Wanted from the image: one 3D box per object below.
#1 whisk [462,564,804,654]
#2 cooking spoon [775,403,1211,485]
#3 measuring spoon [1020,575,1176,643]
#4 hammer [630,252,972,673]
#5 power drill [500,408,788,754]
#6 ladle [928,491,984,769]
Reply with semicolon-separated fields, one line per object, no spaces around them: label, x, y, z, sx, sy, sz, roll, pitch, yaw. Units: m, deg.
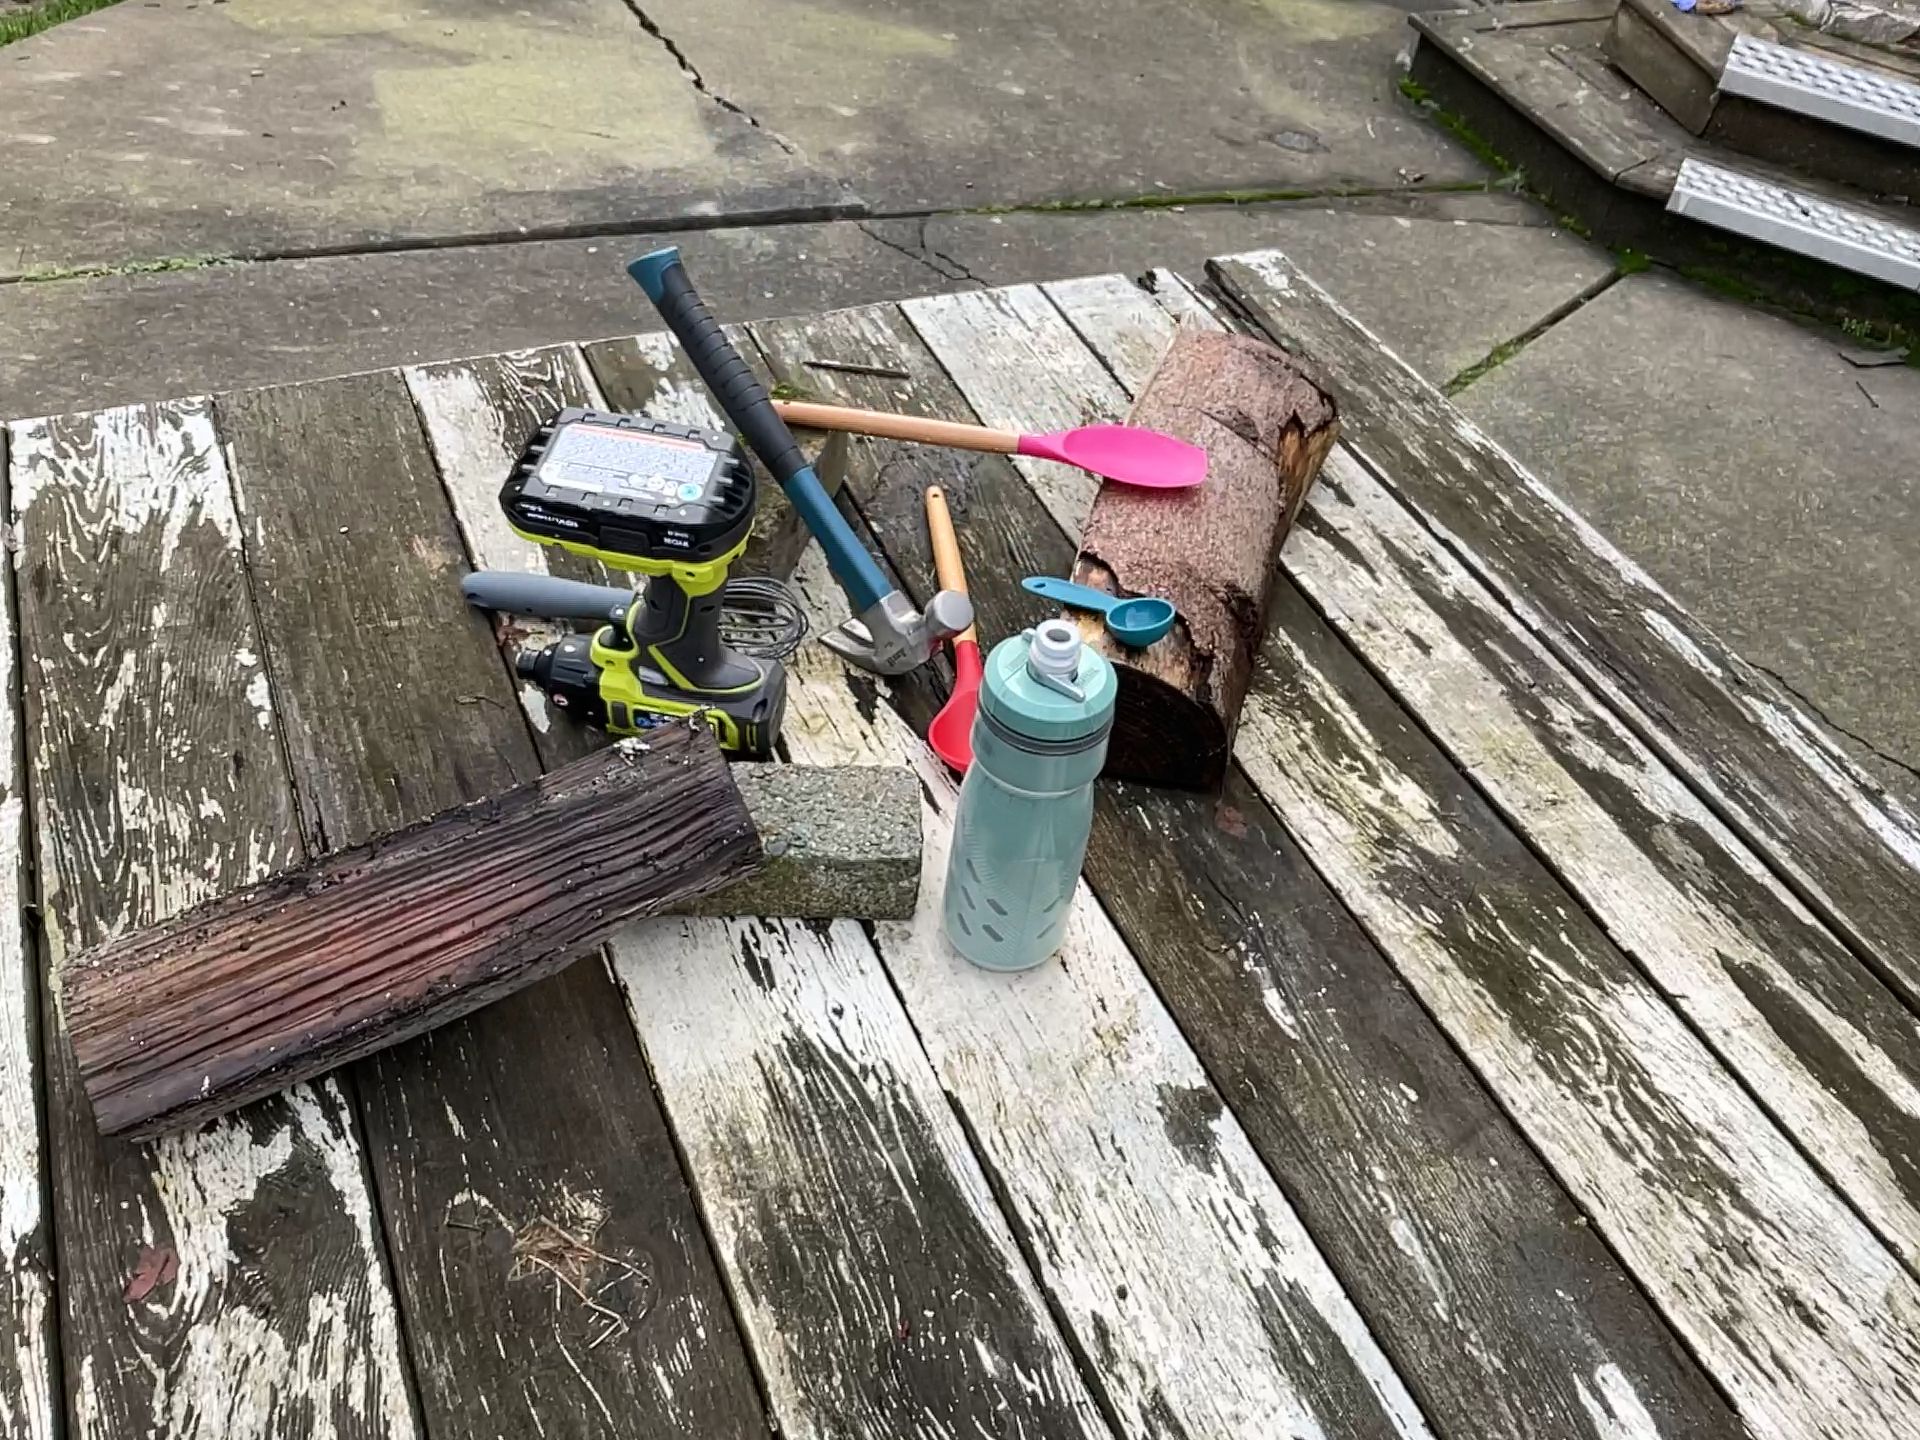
whisk;-0.223;-0.083;1.083;0.239;0.055;0.055;8;36;4
cooking spoon;0.021;-0.203;1.147;0.319;0.017;0.069;9;45;7
measuring spoon;0.086;-0.071;1.027;0.042;0.021;0.129;-30;33;-32
hammer;-0.118;-0.175;1.073;0.033;0.128;0.331;-33;89;-37
power drill;-0.195;-0.073;0.958;0.171;0.223;0.080;10;51;4
ladle;0.000;-0.068;1.123;0.069;0.031;0.316;-3;42;-8
